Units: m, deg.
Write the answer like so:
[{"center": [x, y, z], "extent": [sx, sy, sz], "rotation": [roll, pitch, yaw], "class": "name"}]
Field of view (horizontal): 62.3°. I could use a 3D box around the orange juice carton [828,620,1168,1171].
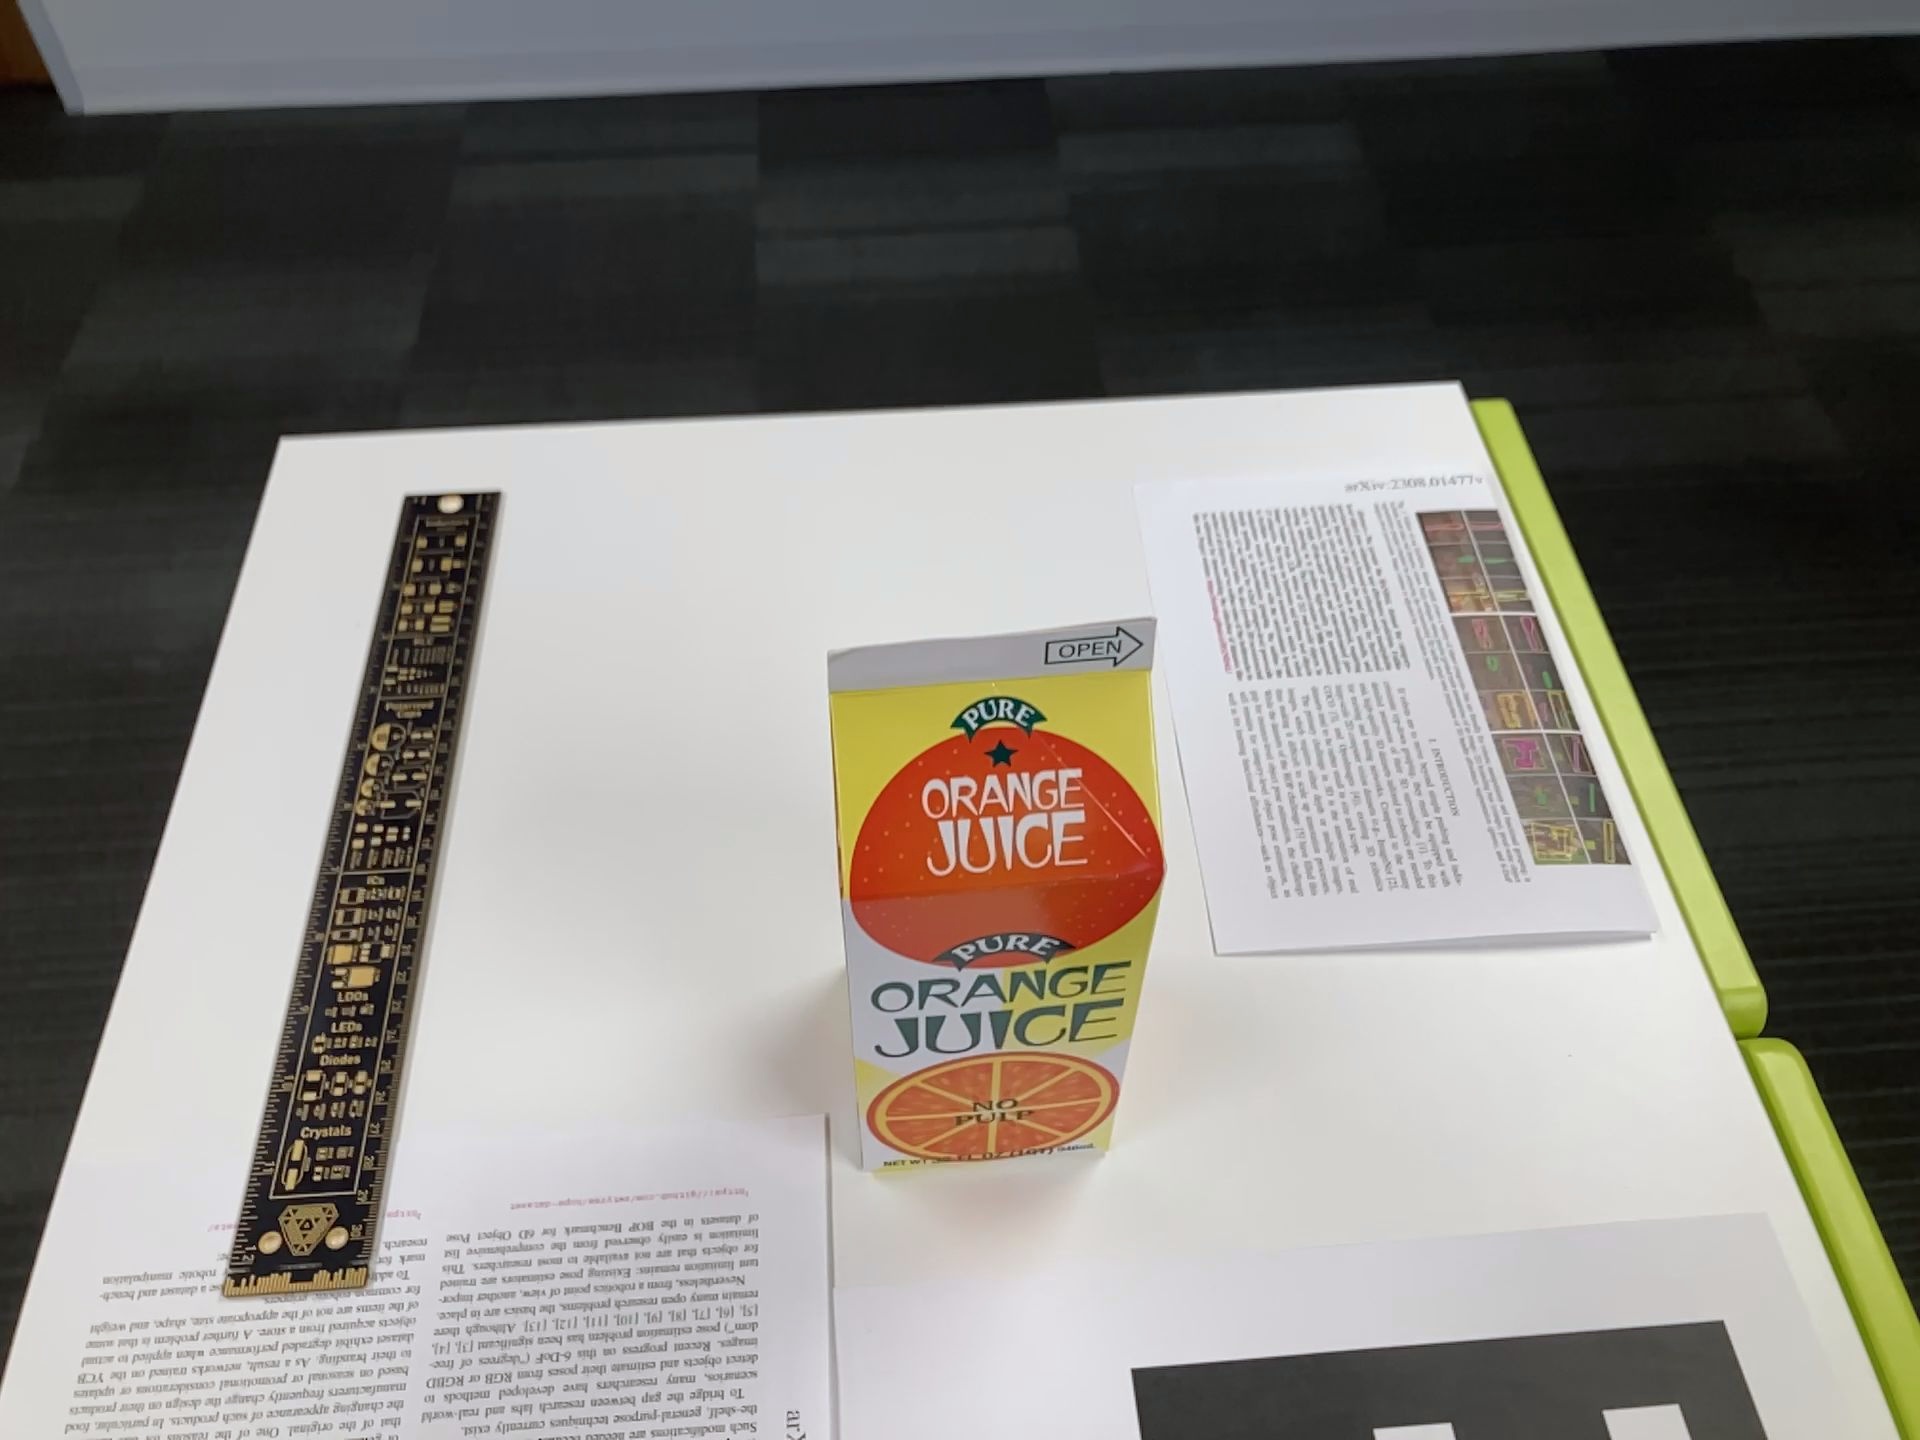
[{"center": [0.006, 0.042, 0.404], "extent": [0.072, 0.192, 0.073], "rotation": [-4, 52, -4], "class": "orange juice carton"}]
